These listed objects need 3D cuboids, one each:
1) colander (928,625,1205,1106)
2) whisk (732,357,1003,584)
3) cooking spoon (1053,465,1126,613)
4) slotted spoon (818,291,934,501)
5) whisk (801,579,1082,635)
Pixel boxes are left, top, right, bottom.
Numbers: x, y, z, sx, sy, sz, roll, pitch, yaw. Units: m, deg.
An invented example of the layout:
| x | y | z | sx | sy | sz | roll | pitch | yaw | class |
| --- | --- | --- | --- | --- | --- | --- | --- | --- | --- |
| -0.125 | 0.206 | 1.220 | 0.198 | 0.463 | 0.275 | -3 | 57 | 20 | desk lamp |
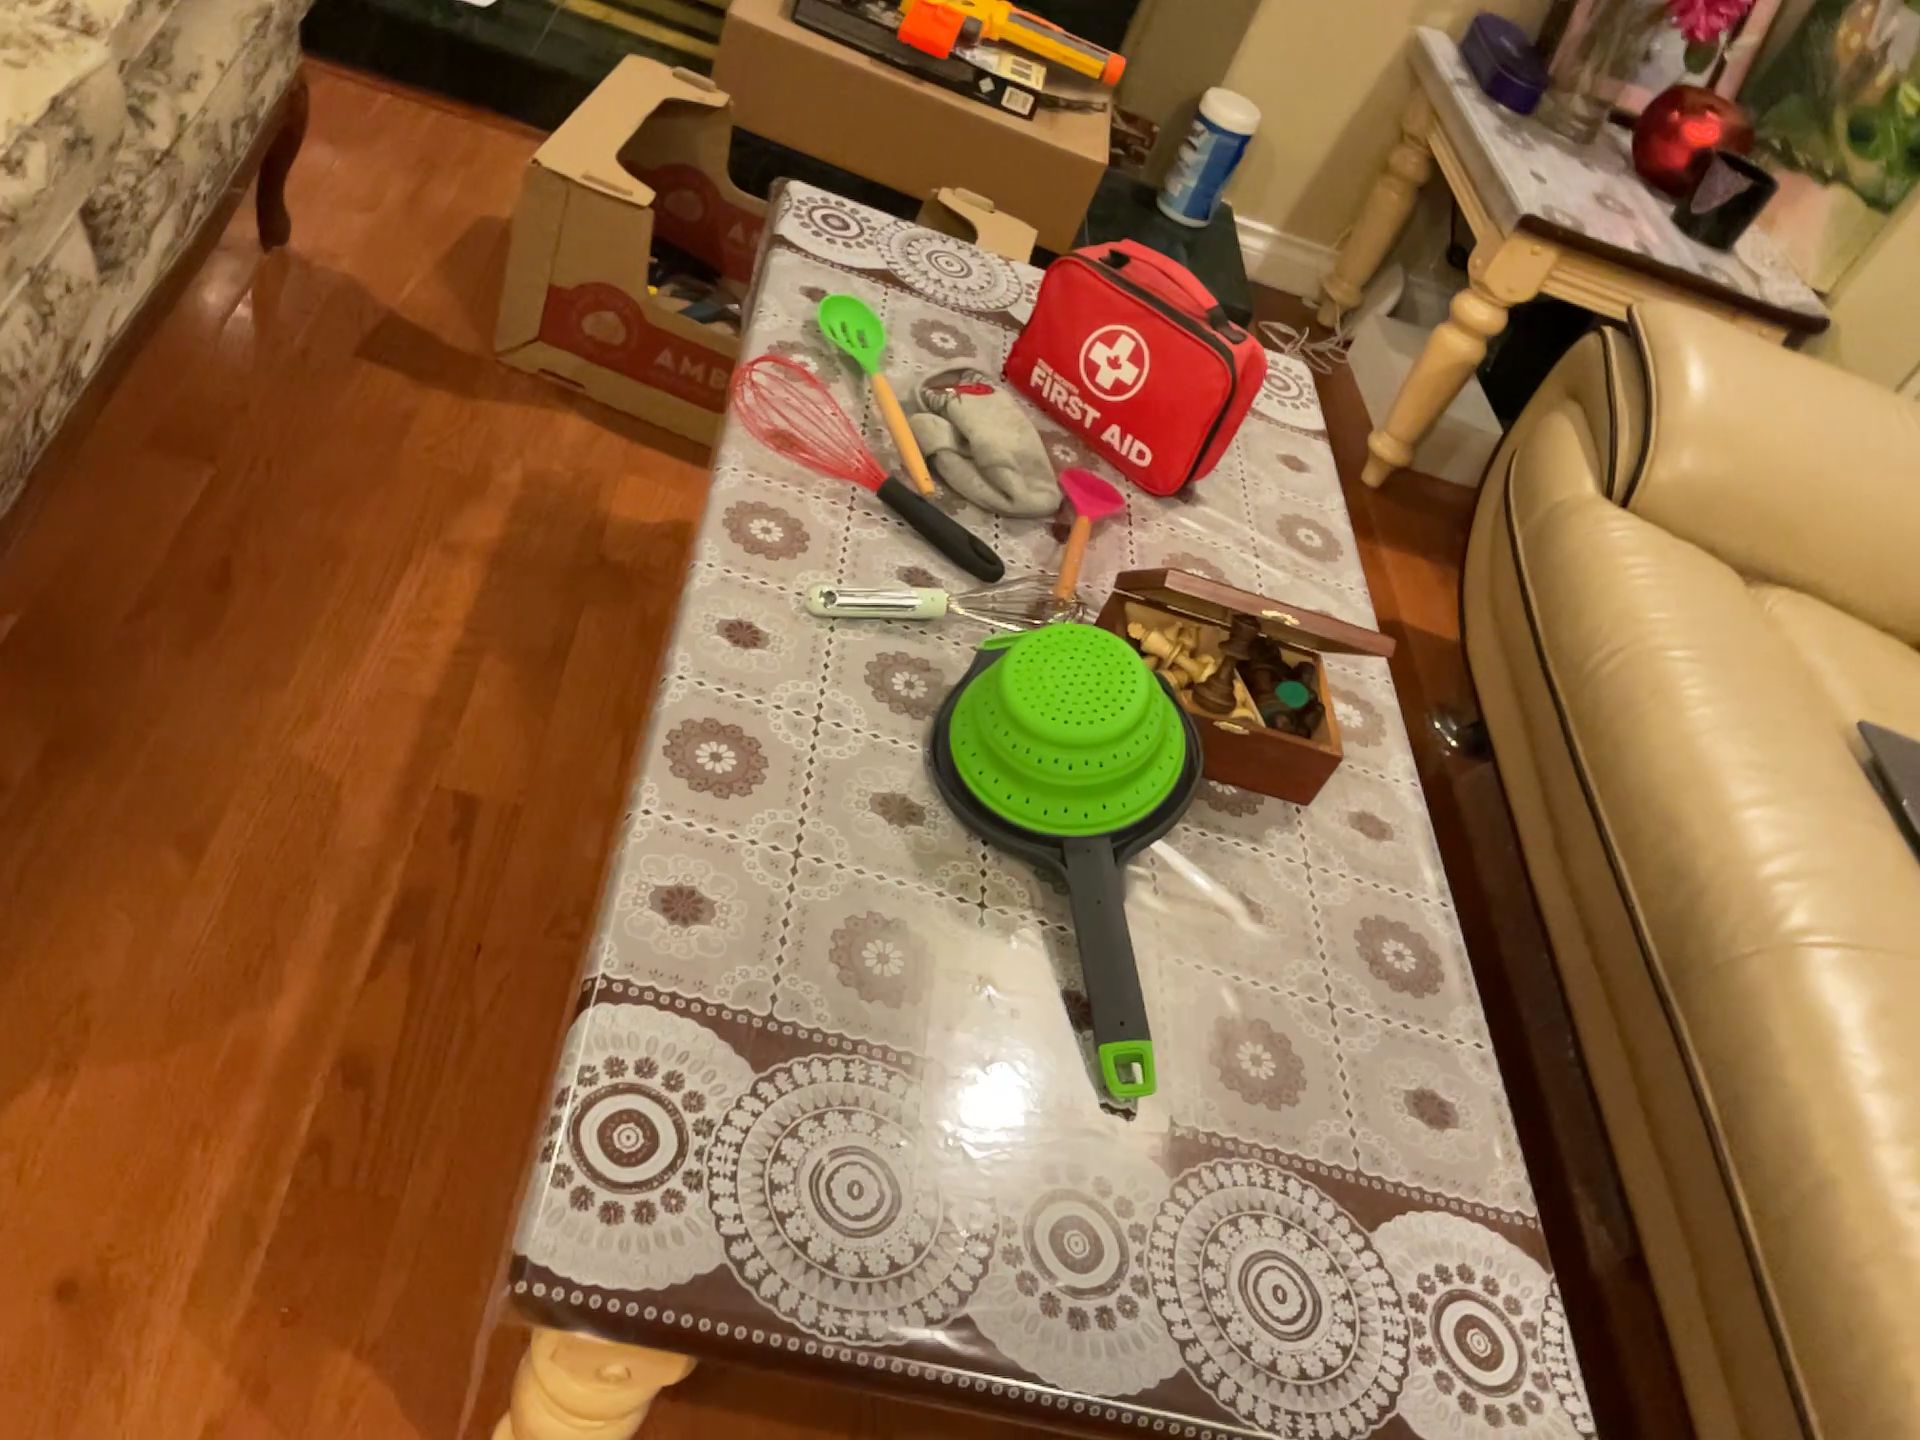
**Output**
| x | y | z | sx | sy | sz | roll | pitch | yaw | class |
| --- | --- | --- | --- | --- | --- | --- | --- | --- | --- |
| 0.088 | 0.064 | 1.095 | 0.204 | 0.094 | 0.398 | -4 | 53 | -5 | colander |
| -0.079 | -0.214 | 1.367 | 0.296 | 0.073 | 0.073 | 40 | 35 | 5 | whisk |
| 0.105 | -0.164 | 1.397 | 0.068 | 0.017 | 0.319 | 23 | 29 | -2 | cooking spoon |
| -0.073 | -0.300 | 1.465 | 0.070 | 0.031 | 0.314 | 3 | 43 | -26 | slotted spoon |
| -0.011 | -0.090 | 1.285 | 0.246 | 0.059 | 0.058 | 1 | 5 | -25 | whisk |
